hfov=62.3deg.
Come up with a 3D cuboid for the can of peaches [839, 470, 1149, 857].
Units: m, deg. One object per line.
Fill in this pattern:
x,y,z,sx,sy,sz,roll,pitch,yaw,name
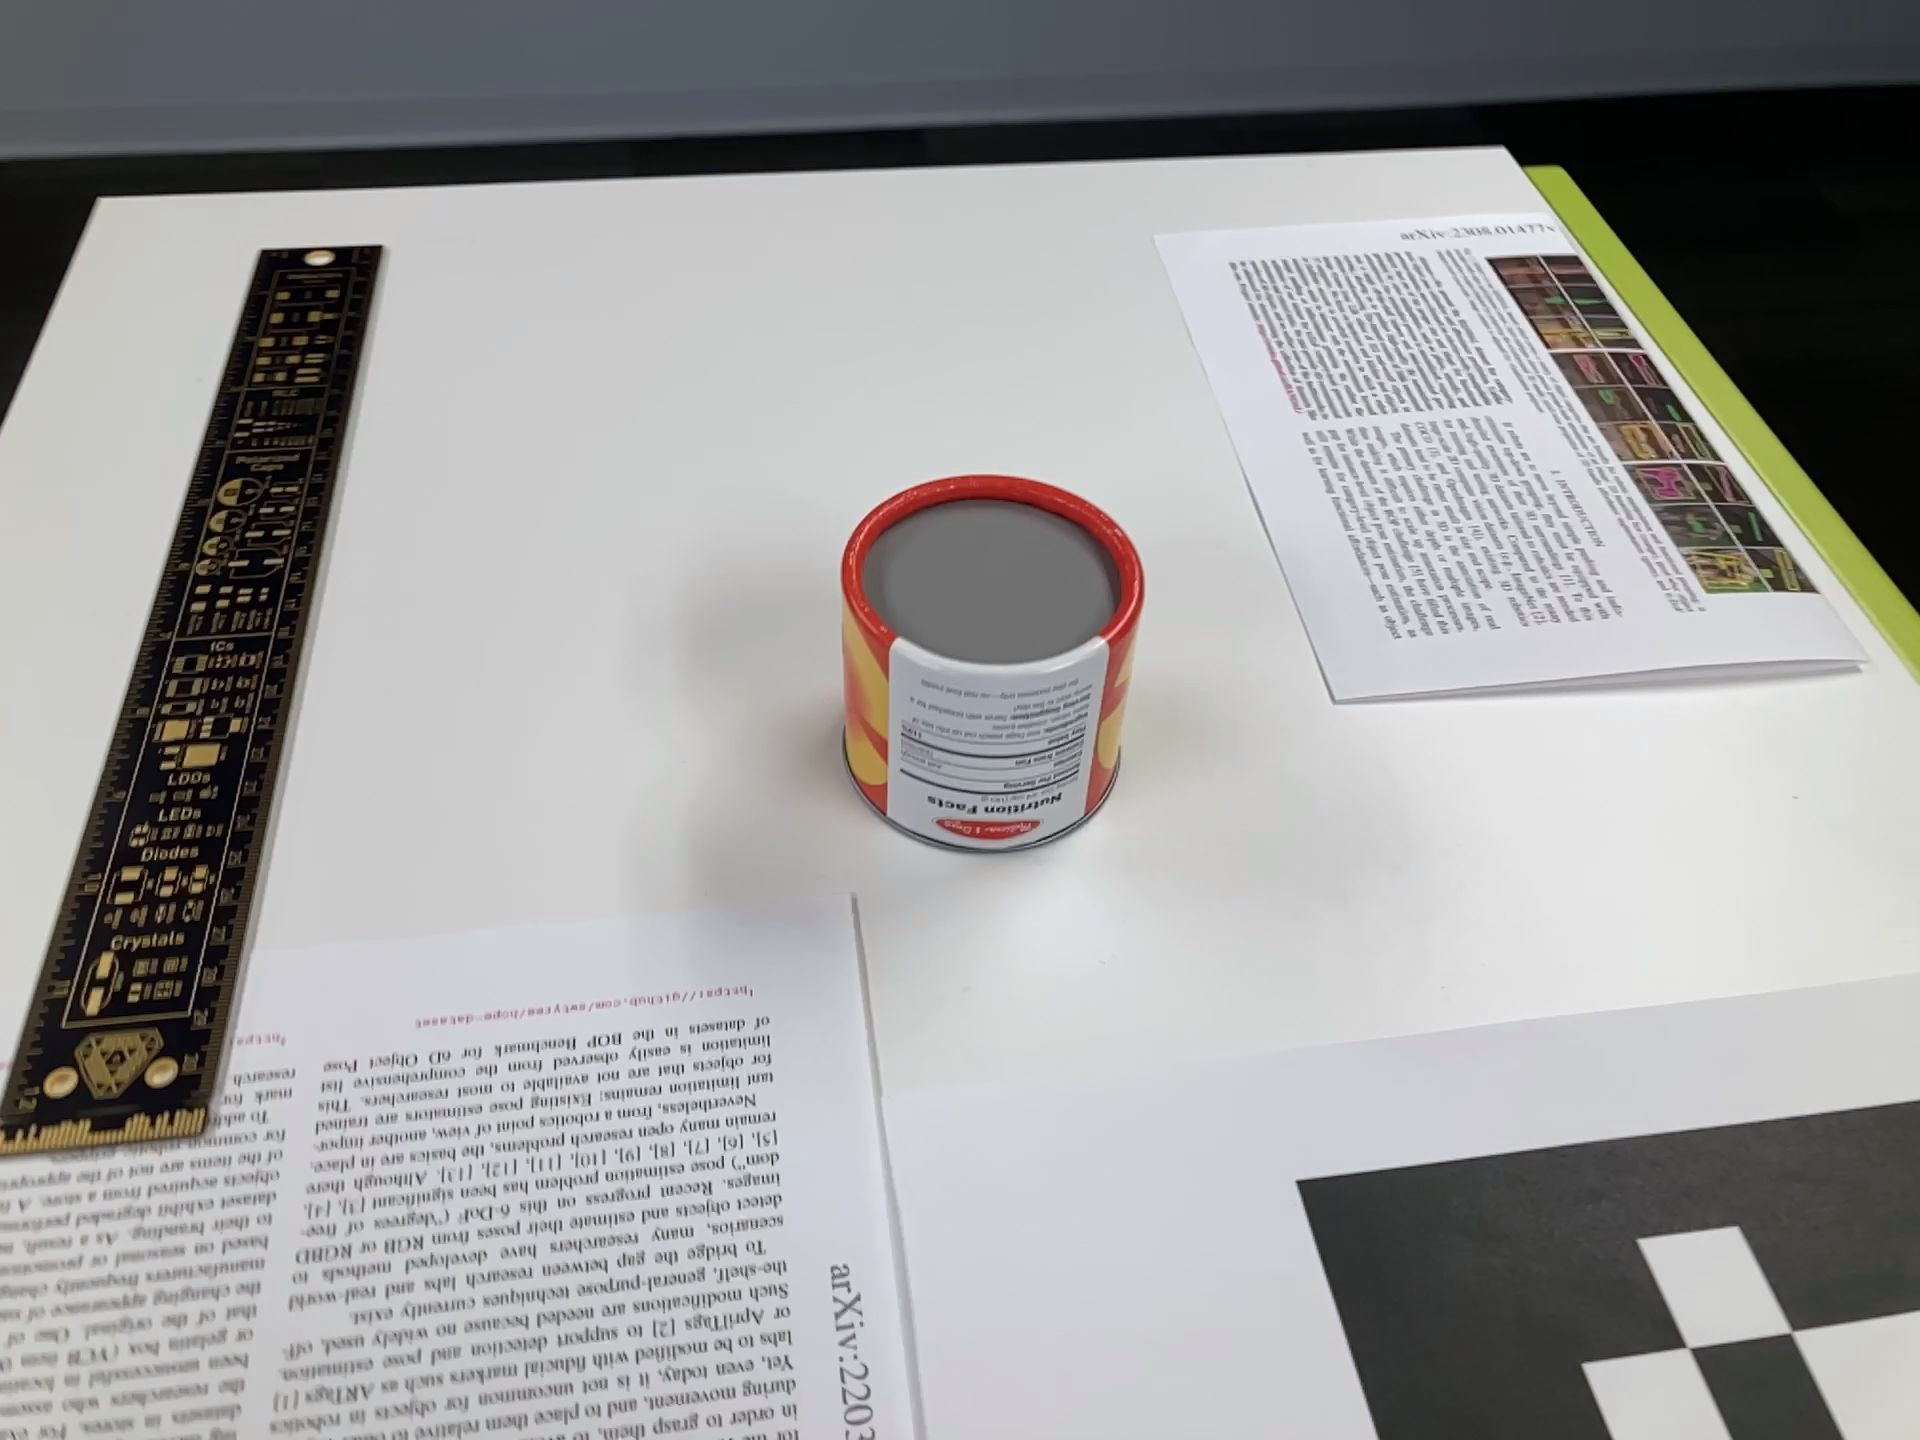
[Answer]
0.006,-0.015,0.353,0.071,0.058,0.071,1,48,-1,can of peaches
